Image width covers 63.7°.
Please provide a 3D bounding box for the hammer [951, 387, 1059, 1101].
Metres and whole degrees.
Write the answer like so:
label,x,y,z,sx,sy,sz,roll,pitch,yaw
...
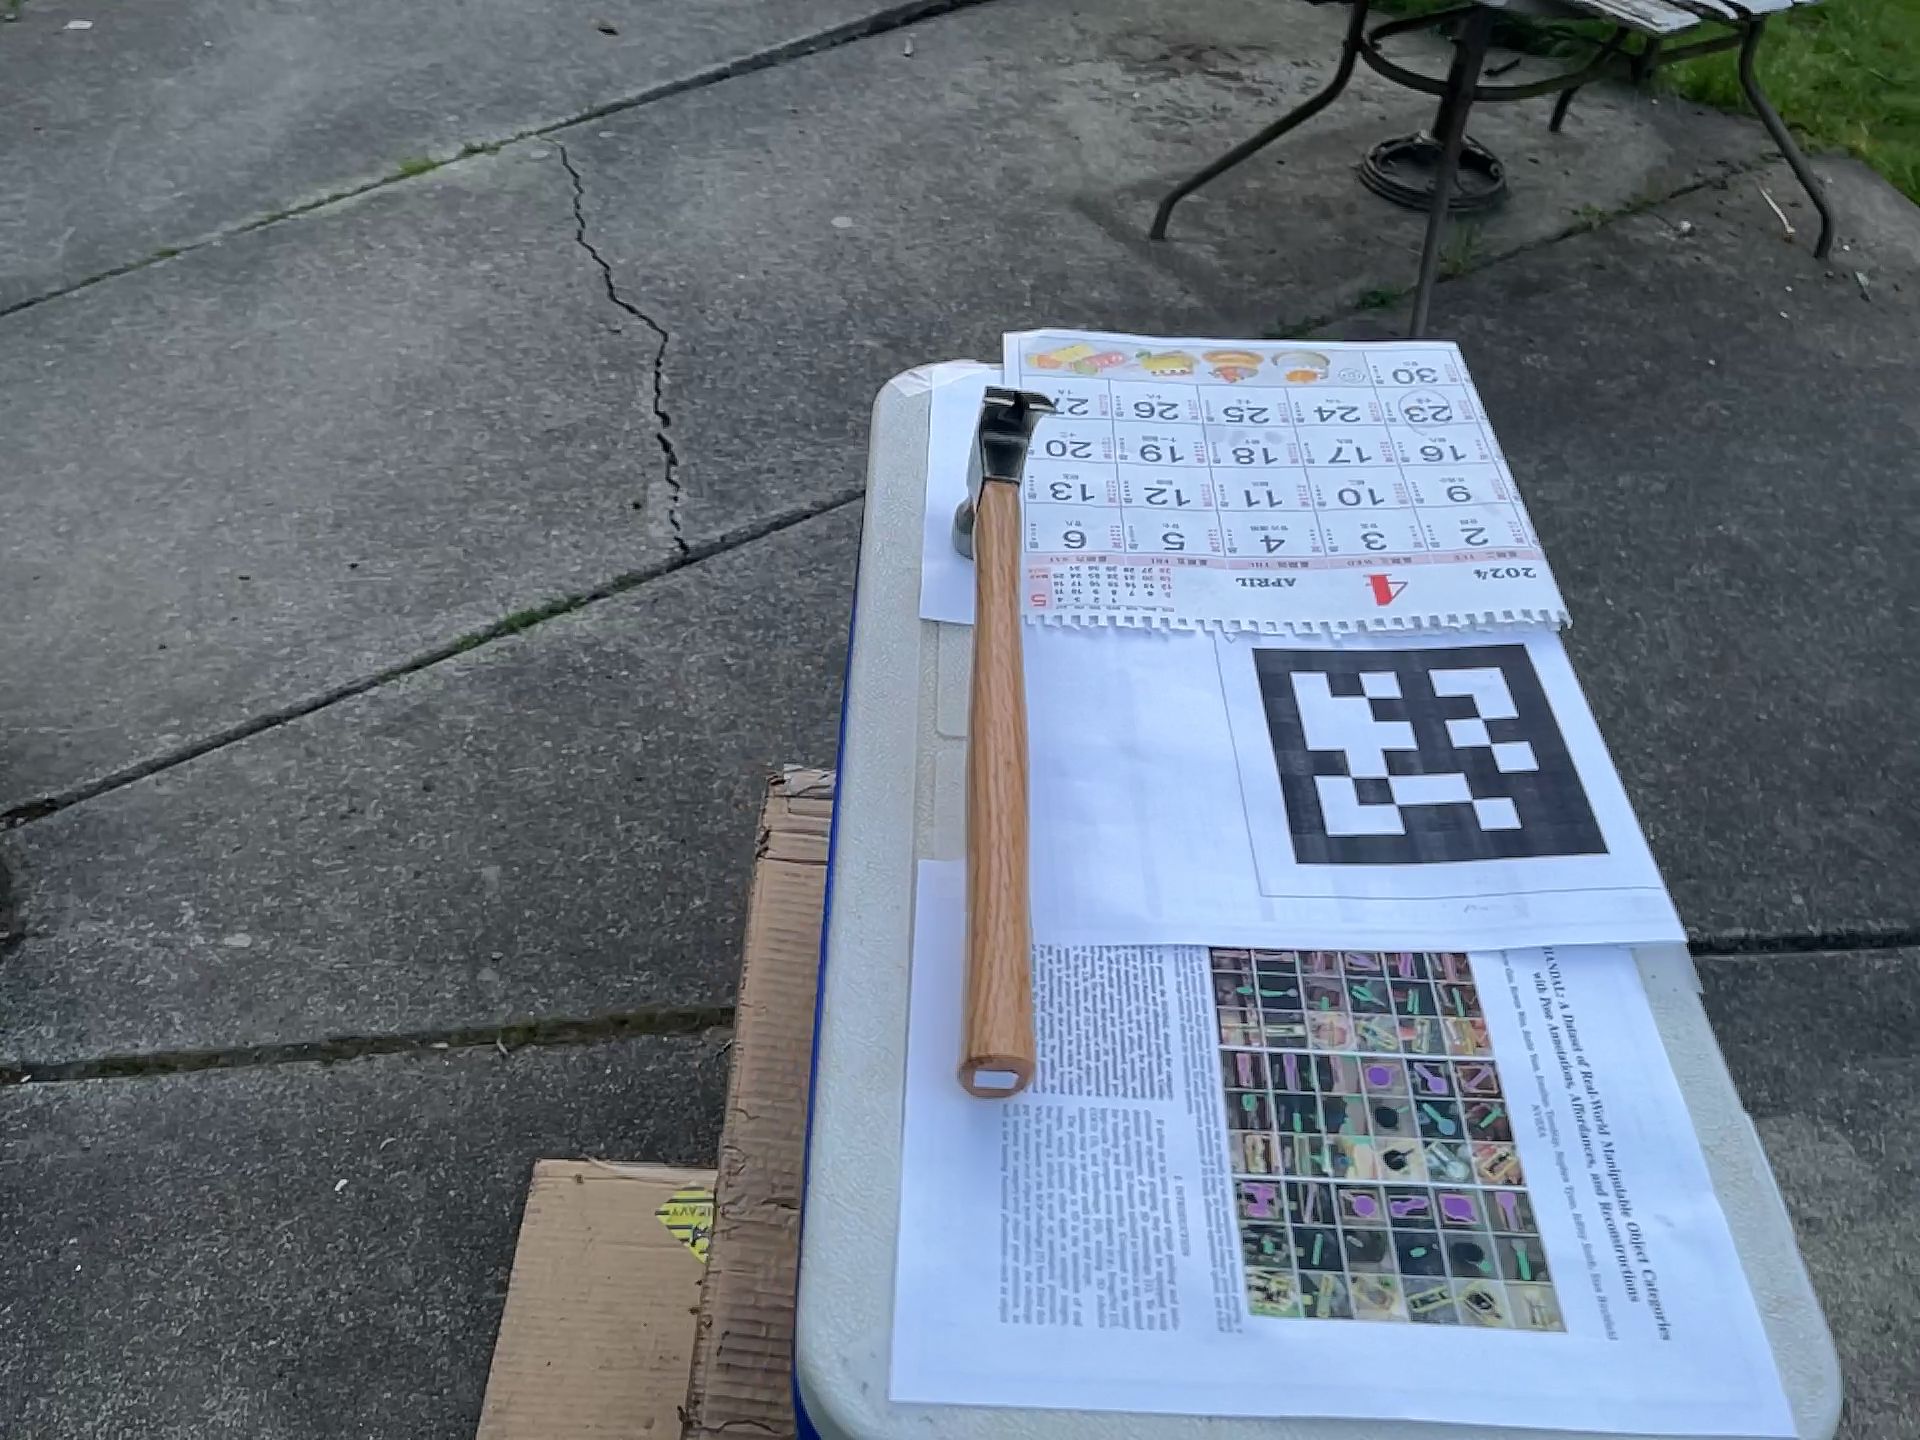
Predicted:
label,x,y,z,sx,sy,sz,roll,pitch,yaw
hammer,0.016,-0.008,0.635,0.031,0.130,0.331,5,54,-5
